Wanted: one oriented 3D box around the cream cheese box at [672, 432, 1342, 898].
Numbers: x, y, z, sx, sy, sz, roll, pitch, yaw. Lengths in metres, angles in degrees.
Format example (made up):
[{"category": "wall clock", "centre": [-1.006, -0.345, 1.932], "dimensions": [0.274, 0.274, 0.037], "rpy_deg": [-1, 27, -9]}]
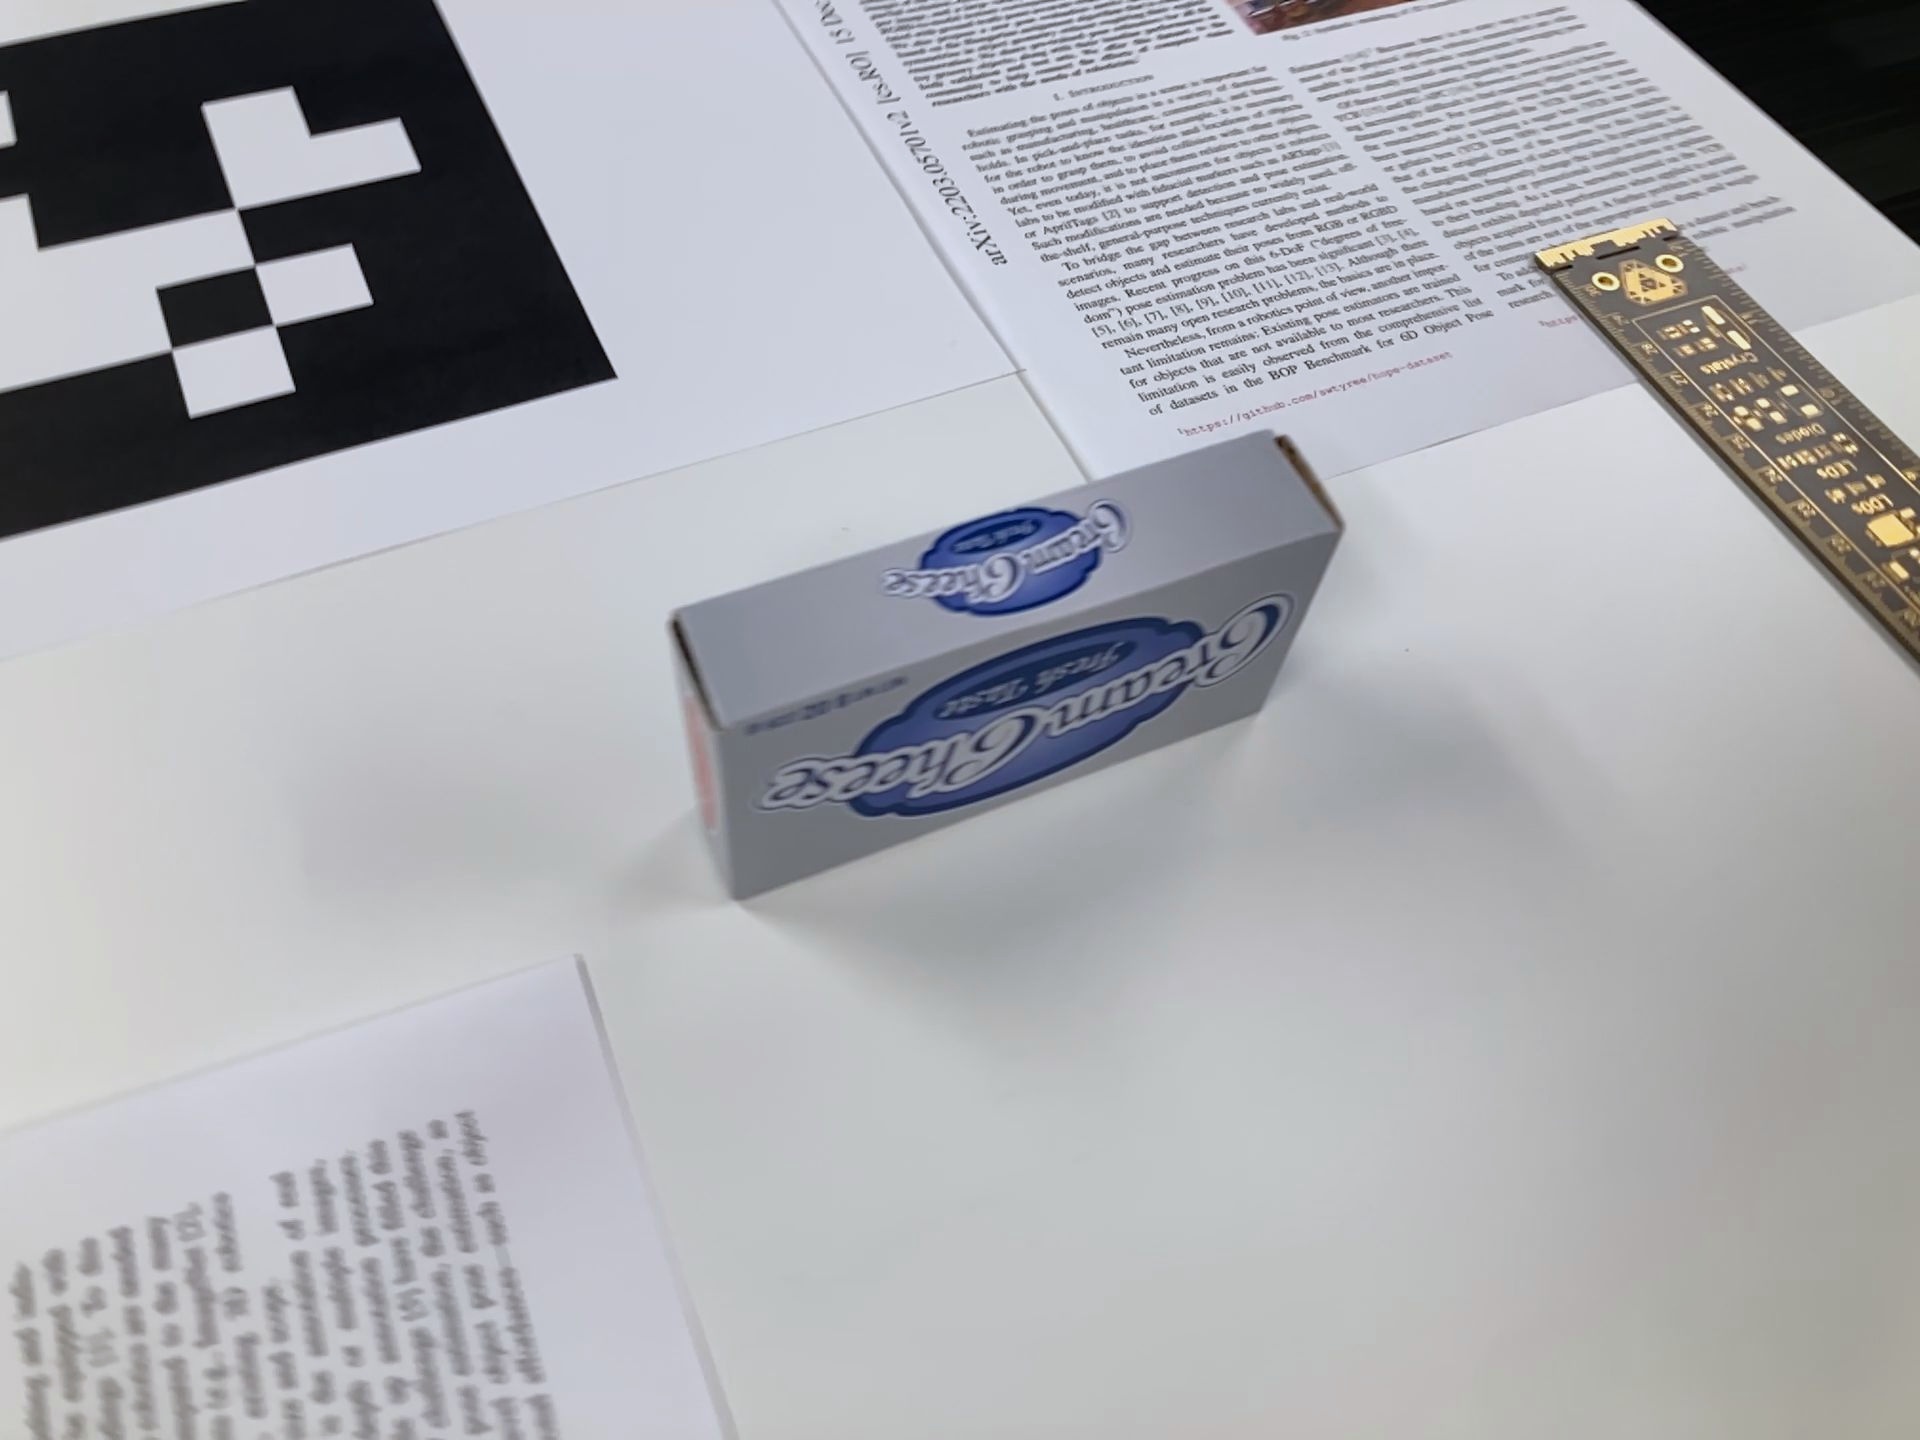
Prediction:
[{"category": "cream cheese box", "centre": [0.007, -0.009, 0.258], "dimensions": [0.104, 0.053, 0.024], "rpy_deg": [-19, 60, -17]}]
